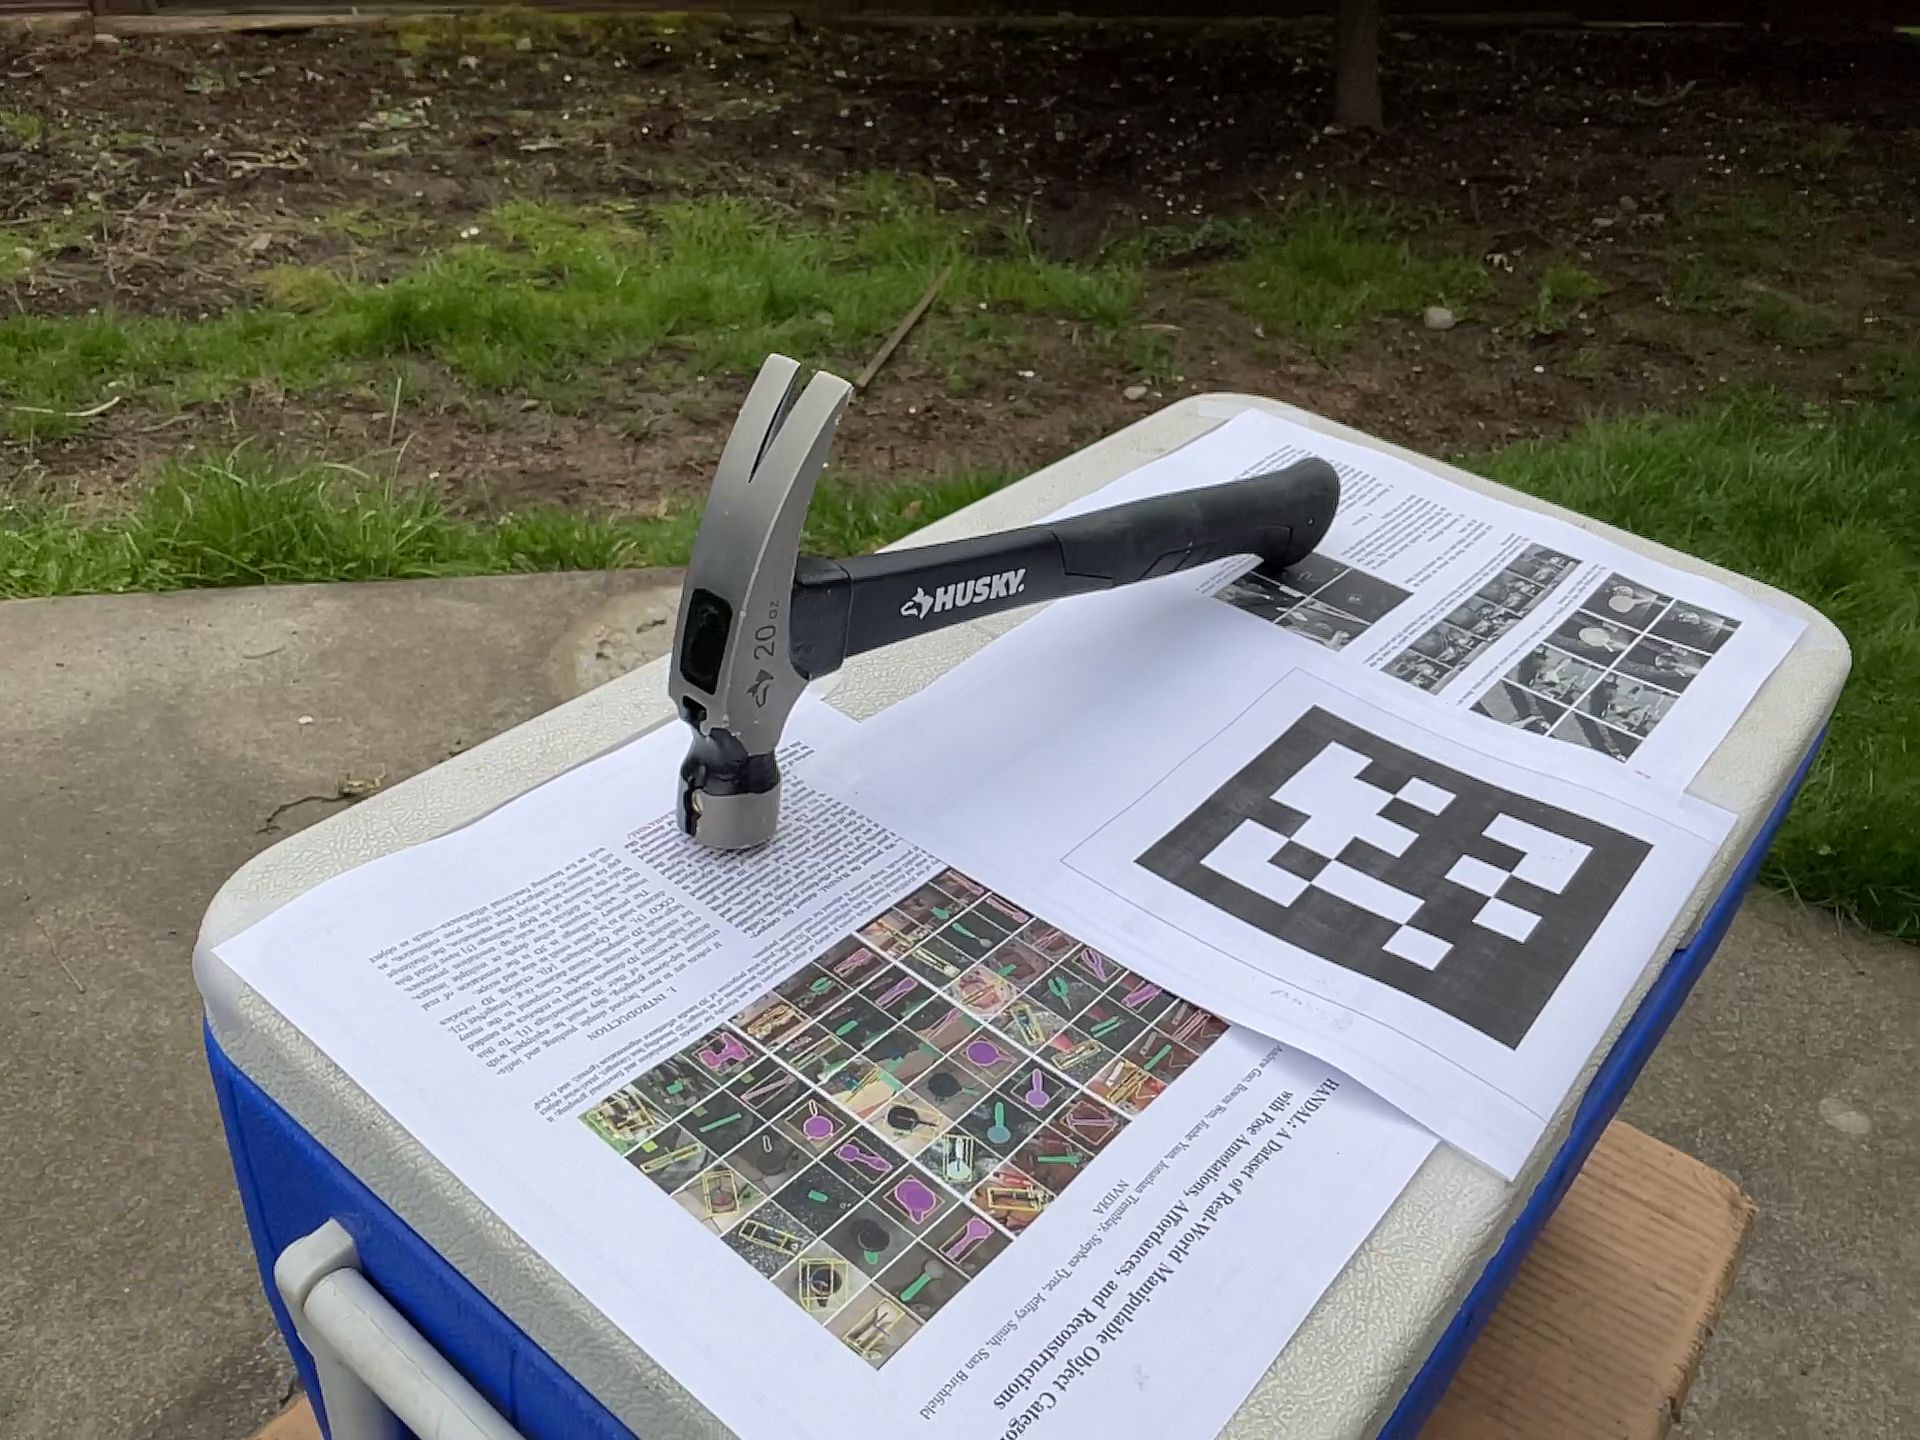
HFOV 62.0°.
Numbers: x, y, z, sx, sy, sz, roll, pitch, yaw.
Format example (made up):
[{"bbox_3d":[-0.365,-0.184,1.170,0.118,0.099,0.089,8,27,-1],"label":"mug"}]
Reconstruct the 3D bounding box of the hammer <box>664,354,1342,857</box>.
[{"bbox_3d":[0.039,-0.062,0.572,0.035,0.146,0.334,28,31,36],"label":"hammer"}]
